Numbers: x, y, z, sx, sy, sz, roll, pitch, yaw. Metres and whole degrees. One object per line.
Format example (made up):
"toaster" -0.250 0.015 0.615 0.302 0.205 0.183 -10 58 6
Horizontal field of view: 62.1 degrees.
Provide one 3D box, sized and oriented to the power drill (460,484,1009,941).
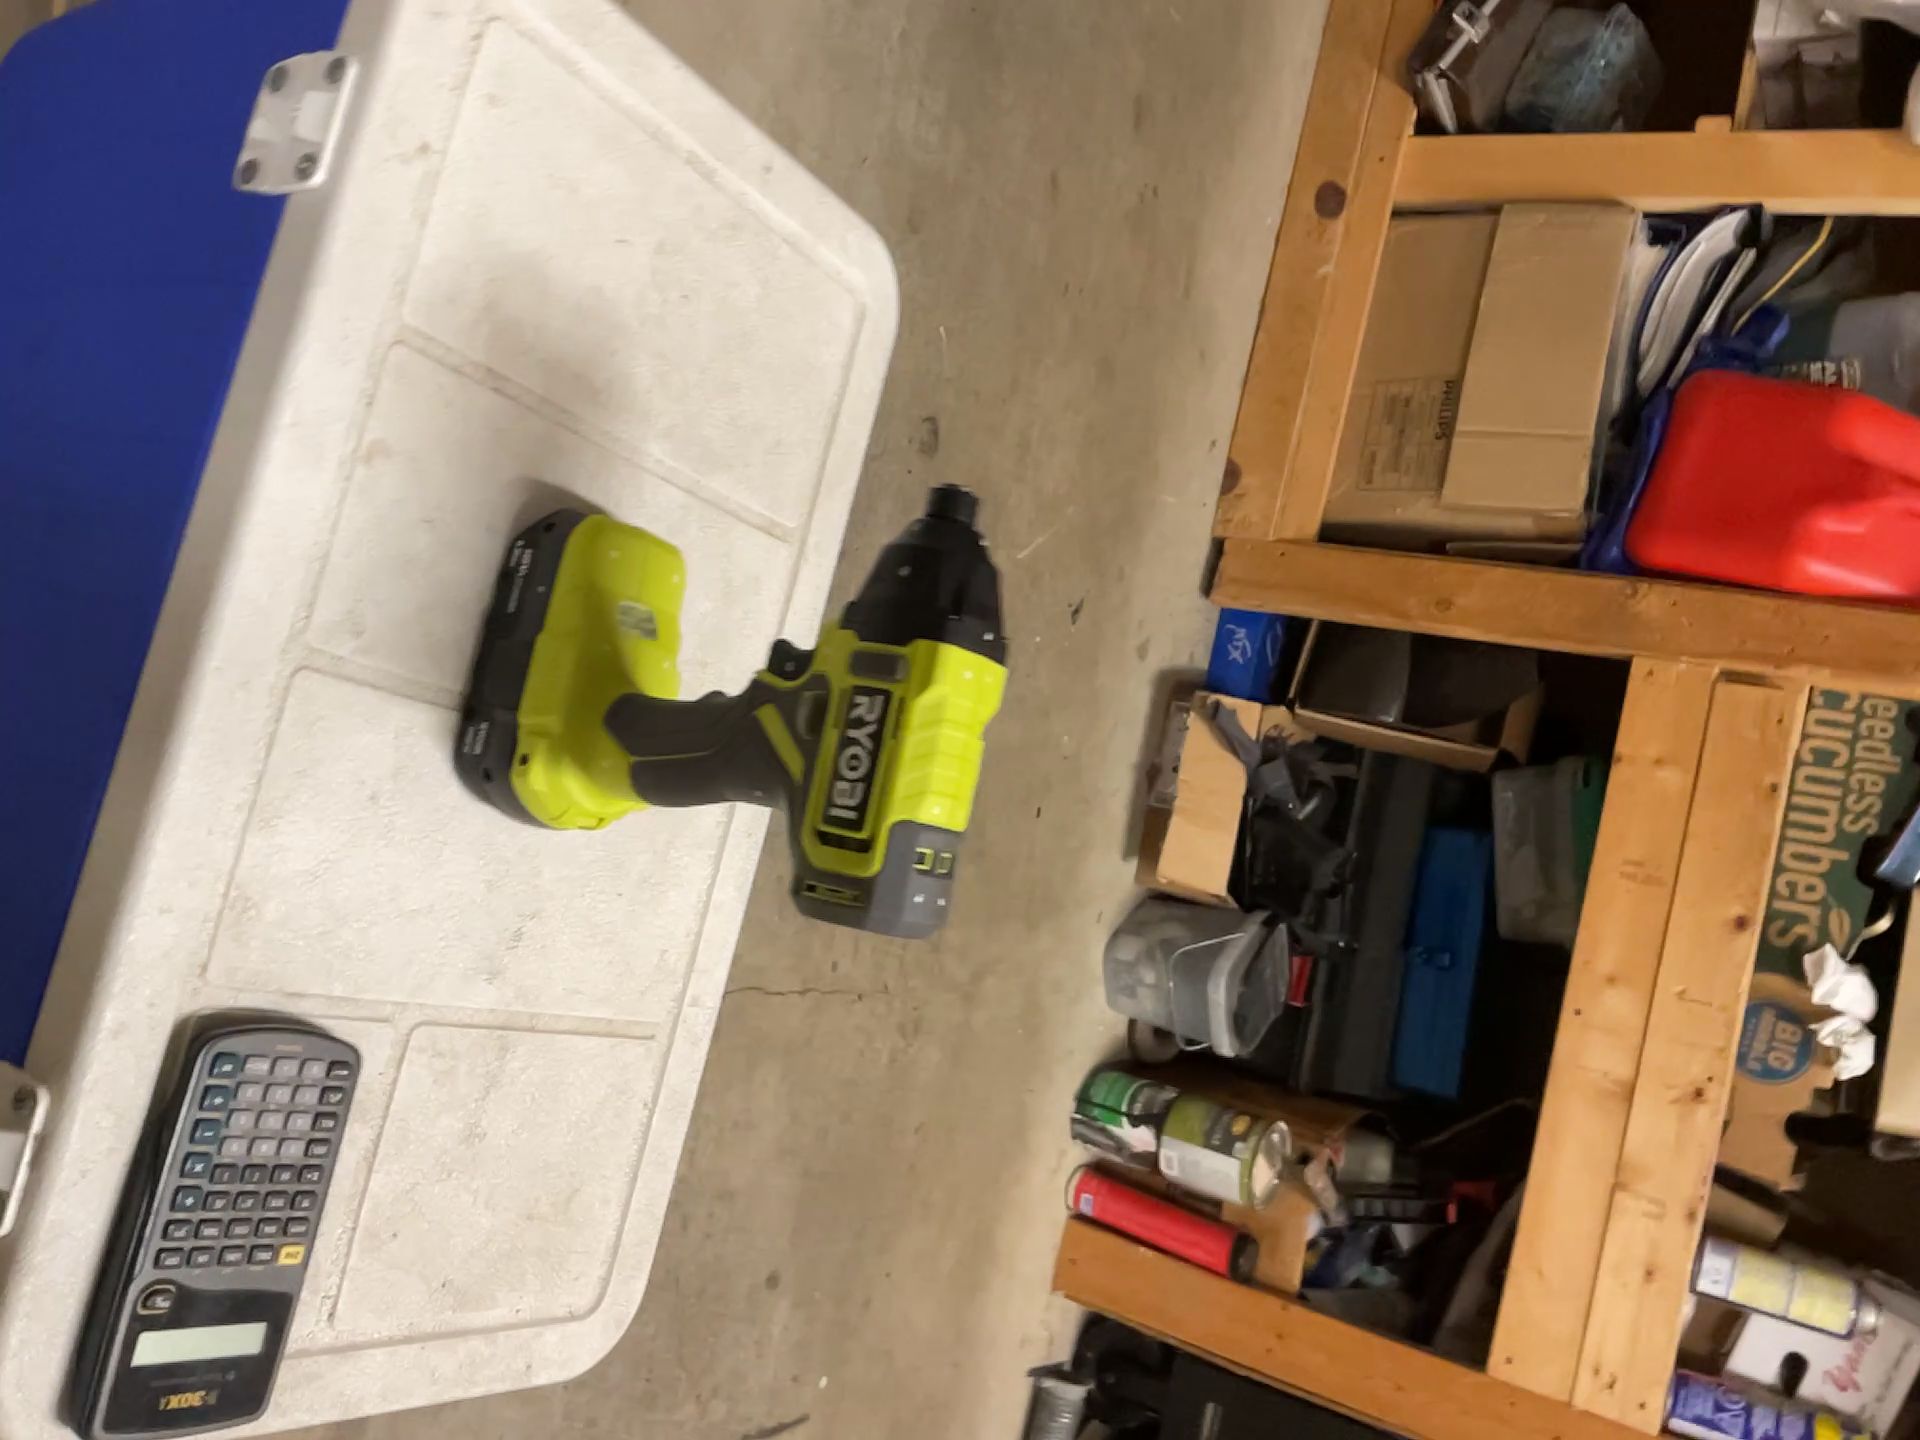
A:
"power drill" -0.089 -0.016 0.650 0.080 0.223 0.171 20 81 -58
